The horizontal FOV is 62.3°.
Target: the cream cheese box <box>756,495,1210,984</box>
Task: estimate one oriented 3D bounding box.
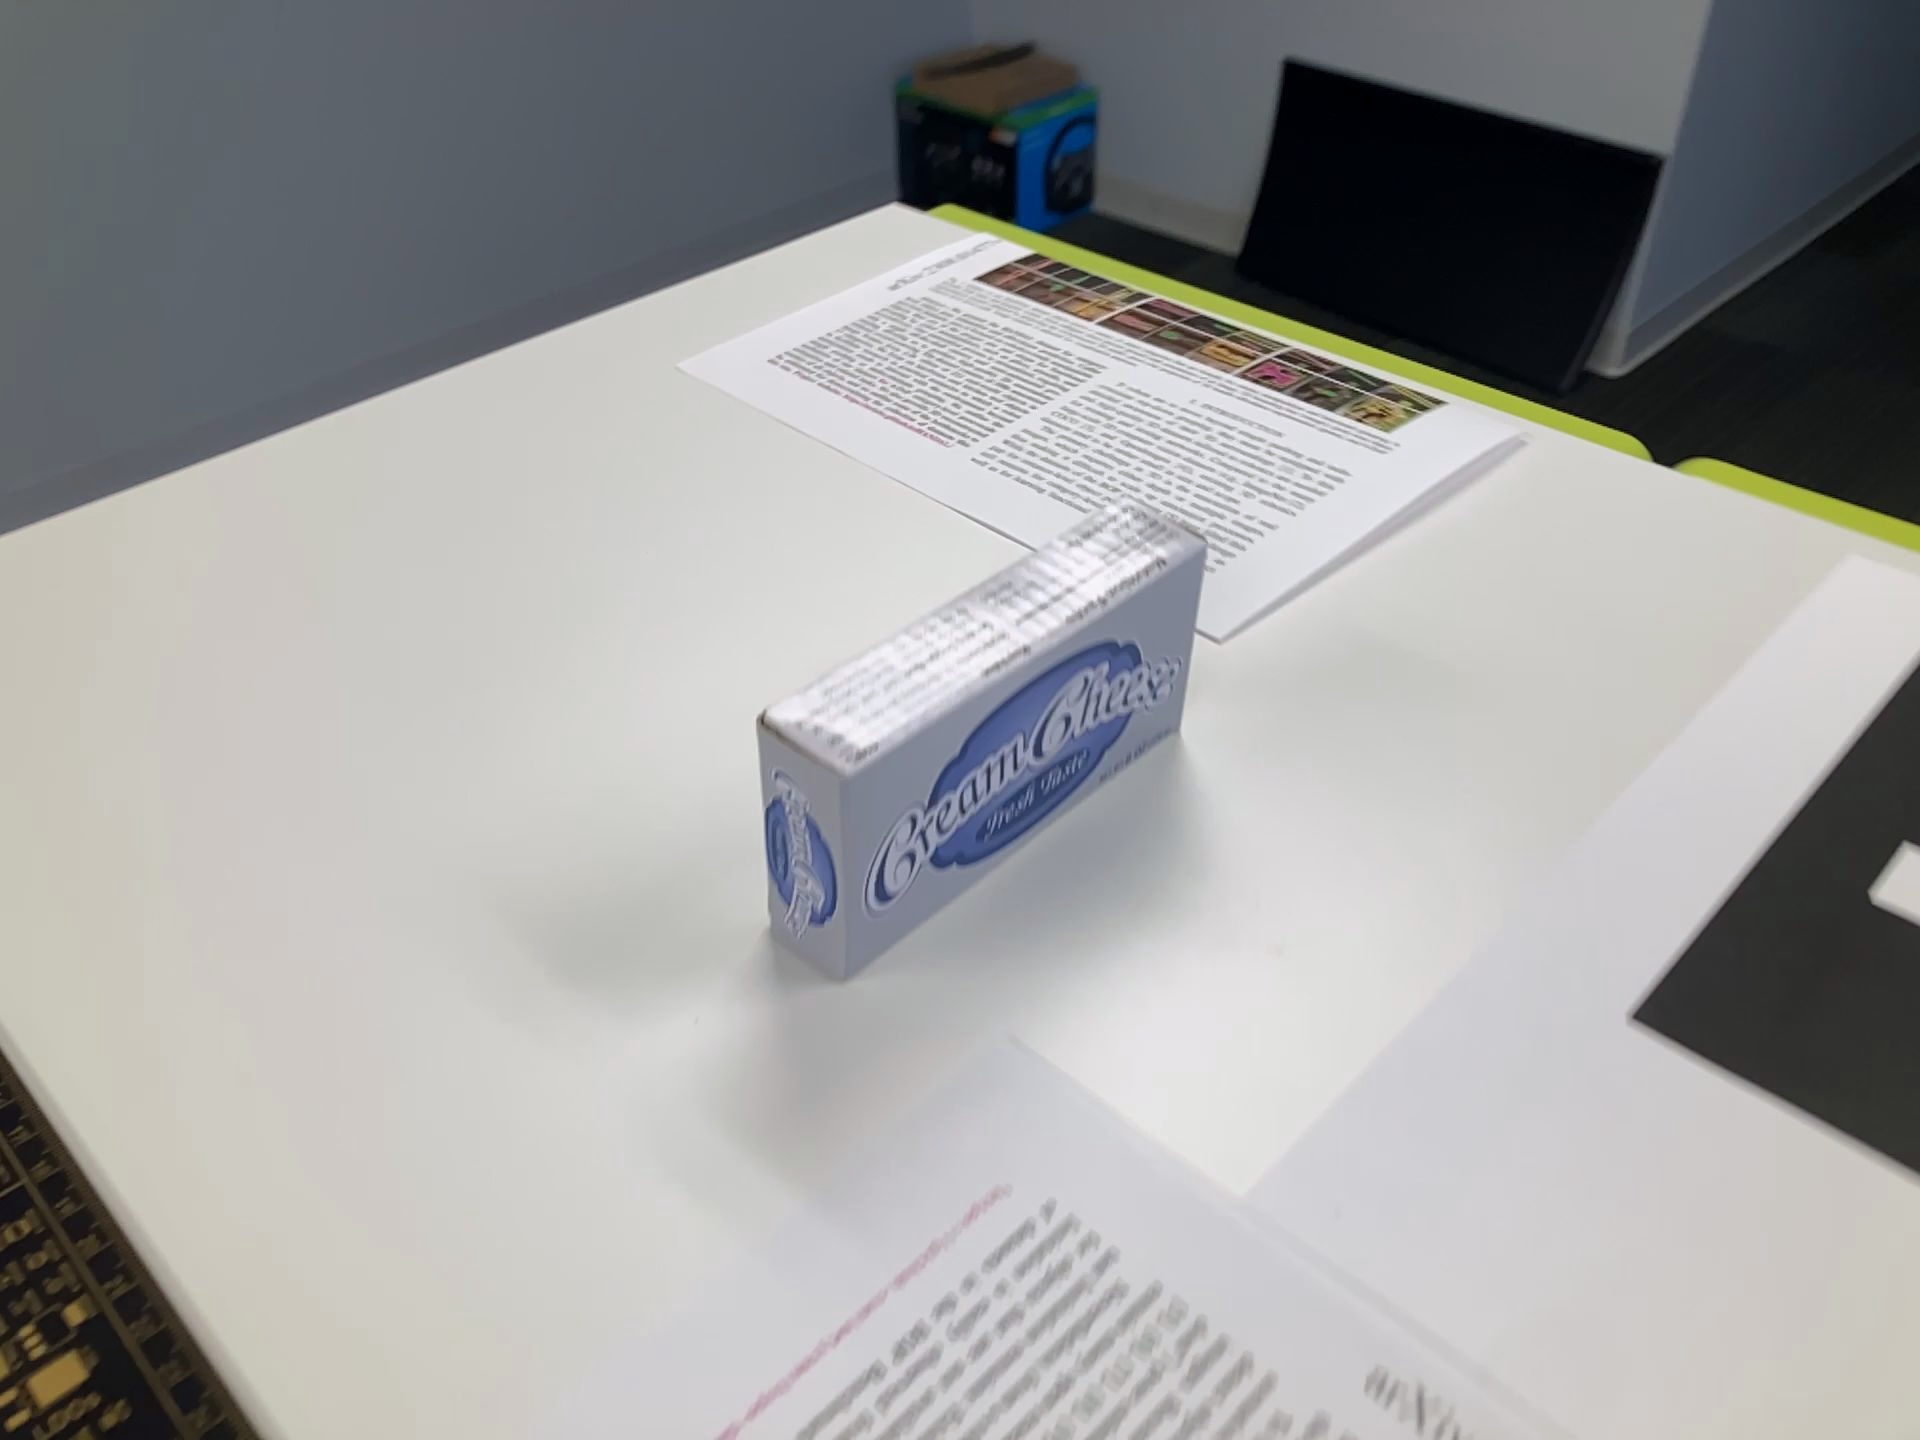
[{"bbox_3d":[0.007,0.001,0.311,0.024,0.053,0.104,31,49,32],"label":"cream cheese box"}]
